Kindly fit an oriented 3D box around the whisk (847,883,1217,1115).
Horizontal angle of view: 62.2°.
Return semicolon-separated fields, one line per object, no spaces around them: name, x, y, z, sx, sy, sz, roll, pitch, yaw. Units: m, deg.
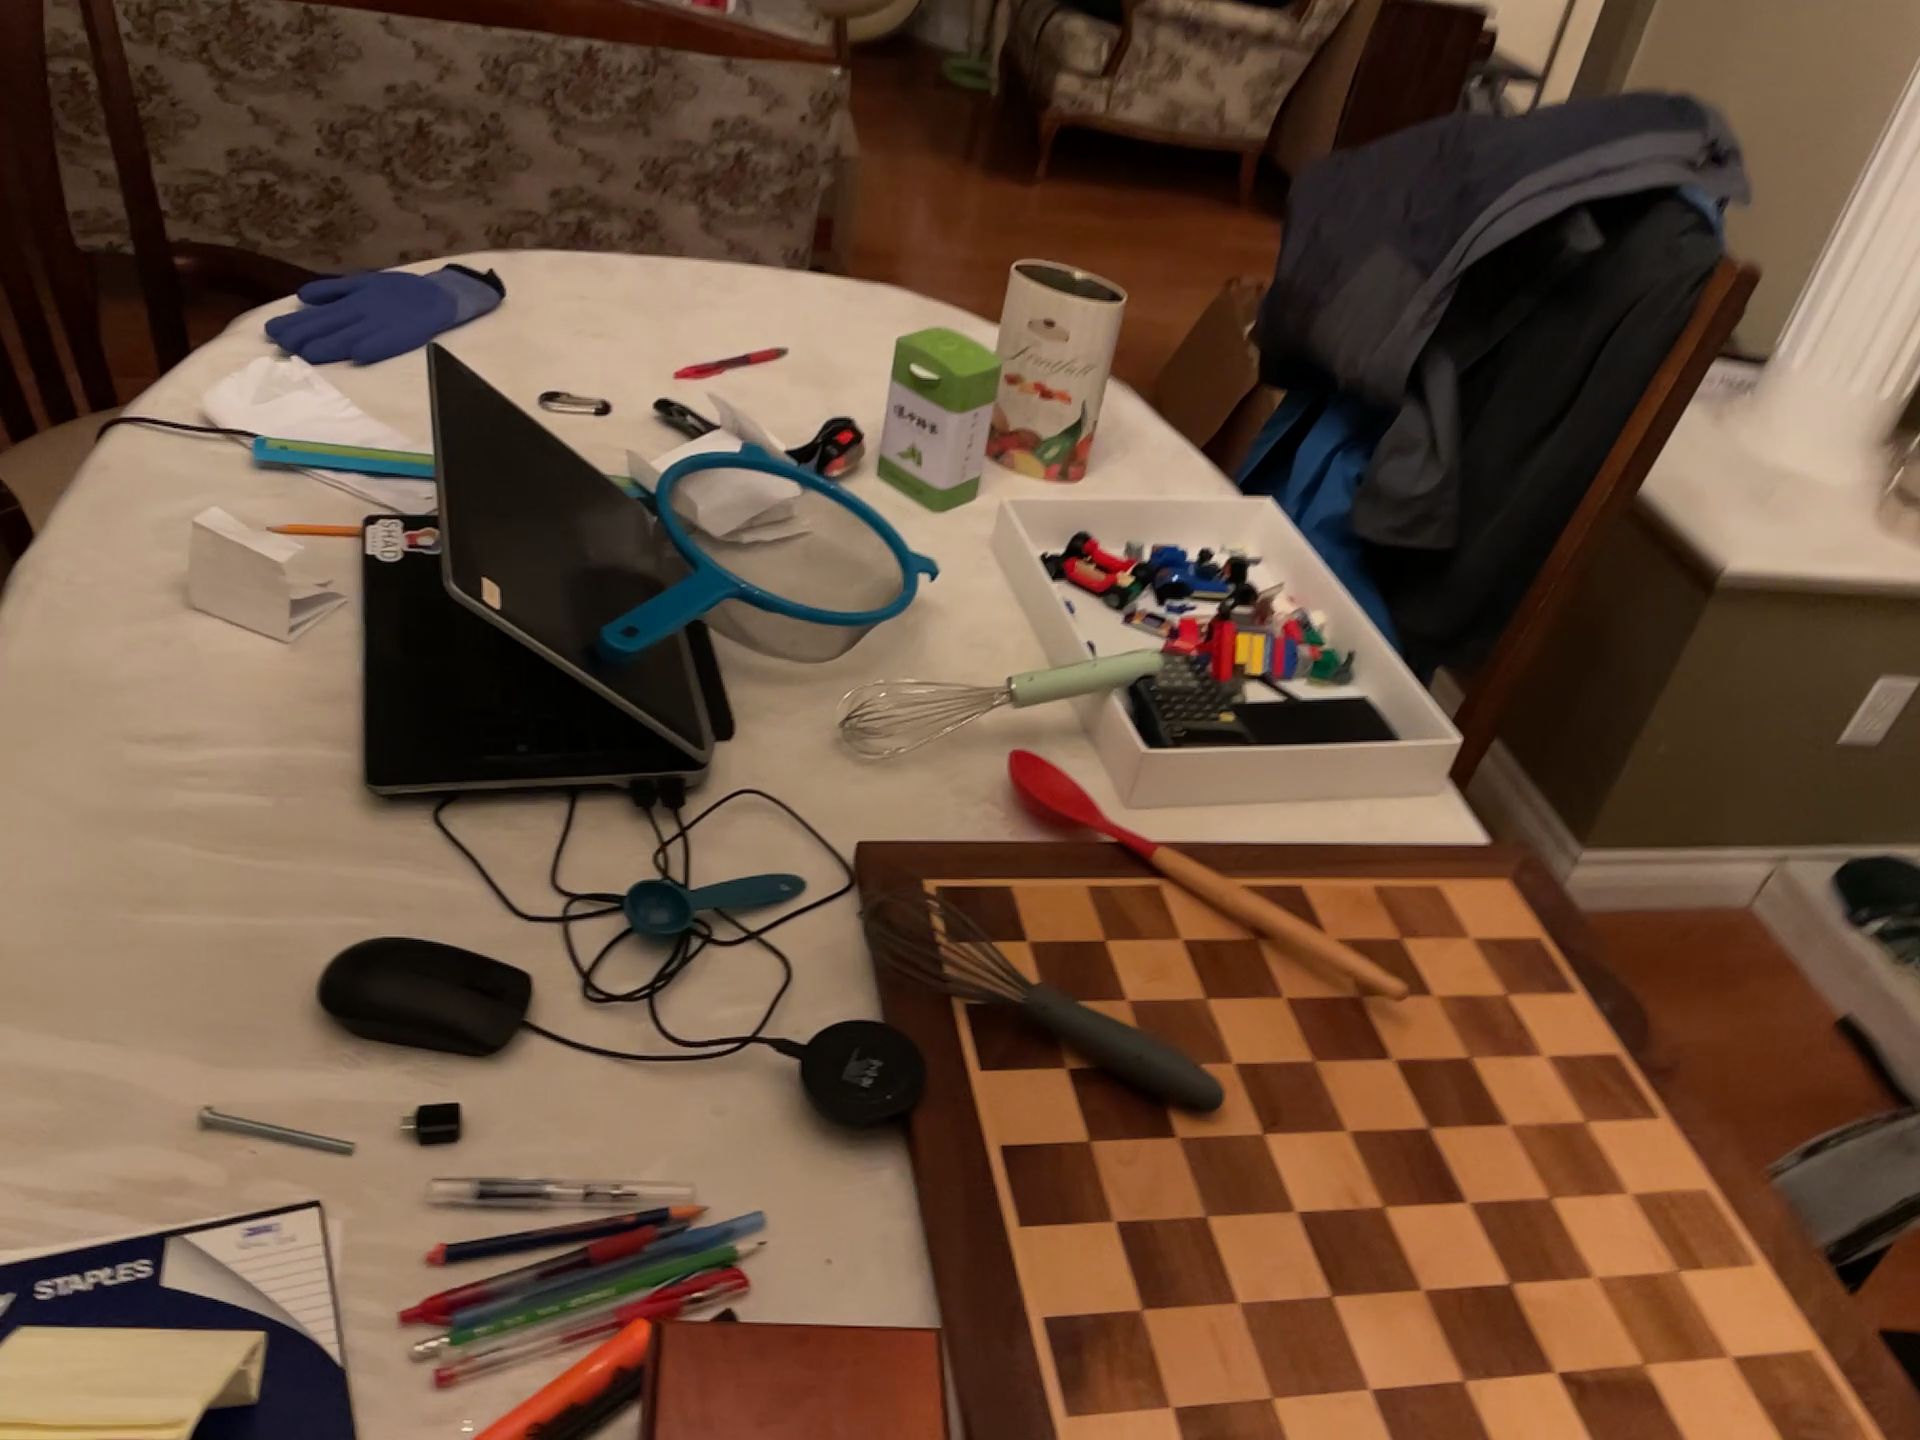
whisk;0.039;0.163;0.915;0.239;0.055;0.055;28;52;15

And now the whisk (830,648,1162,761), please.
whisk;0.028;-0.018;1.145;0.246;0.057;0.059;-12;70;-9

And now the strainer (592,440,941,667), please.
strainer;-0.170;-0.084;1.164;0.211;0.095;0.340;34;34;8

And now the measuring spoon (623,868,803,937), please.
measuring spoon;-0.151;0.112;0.979;0.128;0.021;0.042;-7;46;-43

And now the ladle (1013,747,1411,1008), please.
ladle;0.154;0.101;1.042;0.316;0.031;0.069;31;18;32
